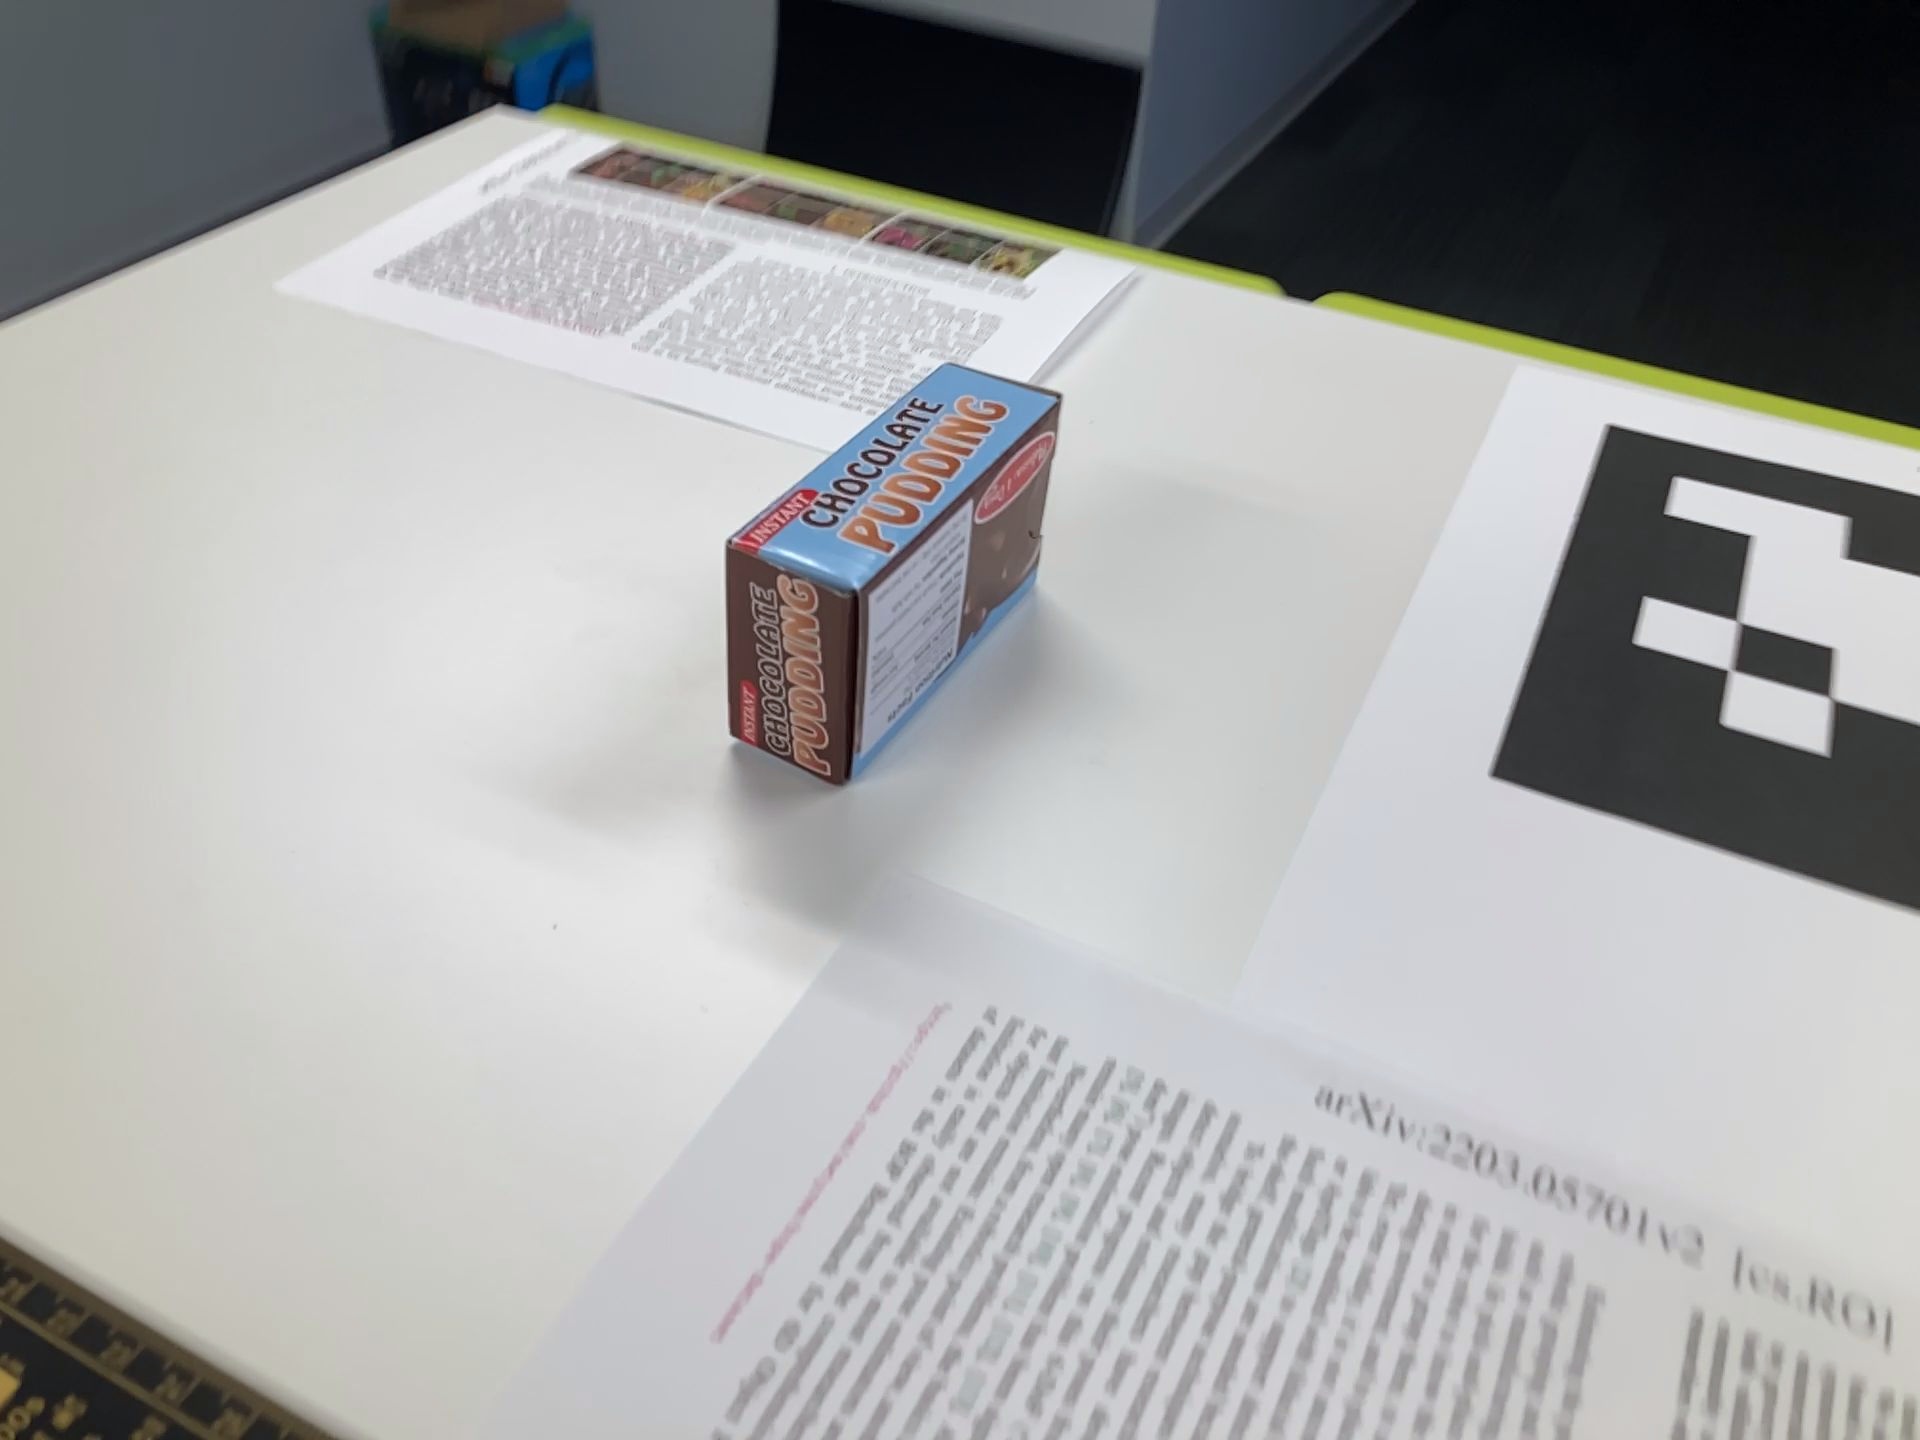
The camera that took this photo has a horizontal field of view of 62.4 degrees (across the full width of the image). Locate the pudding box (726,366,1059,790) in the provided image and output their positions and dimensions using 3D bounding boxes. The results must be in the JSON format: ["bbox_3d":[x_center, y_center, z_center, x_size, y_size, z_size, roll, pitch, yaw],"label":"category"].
[{"bbox_3d":[-0.012,-0.031,0.320,0.030,0.049,0.083,22,44,18],"label":"pudding box"}]
